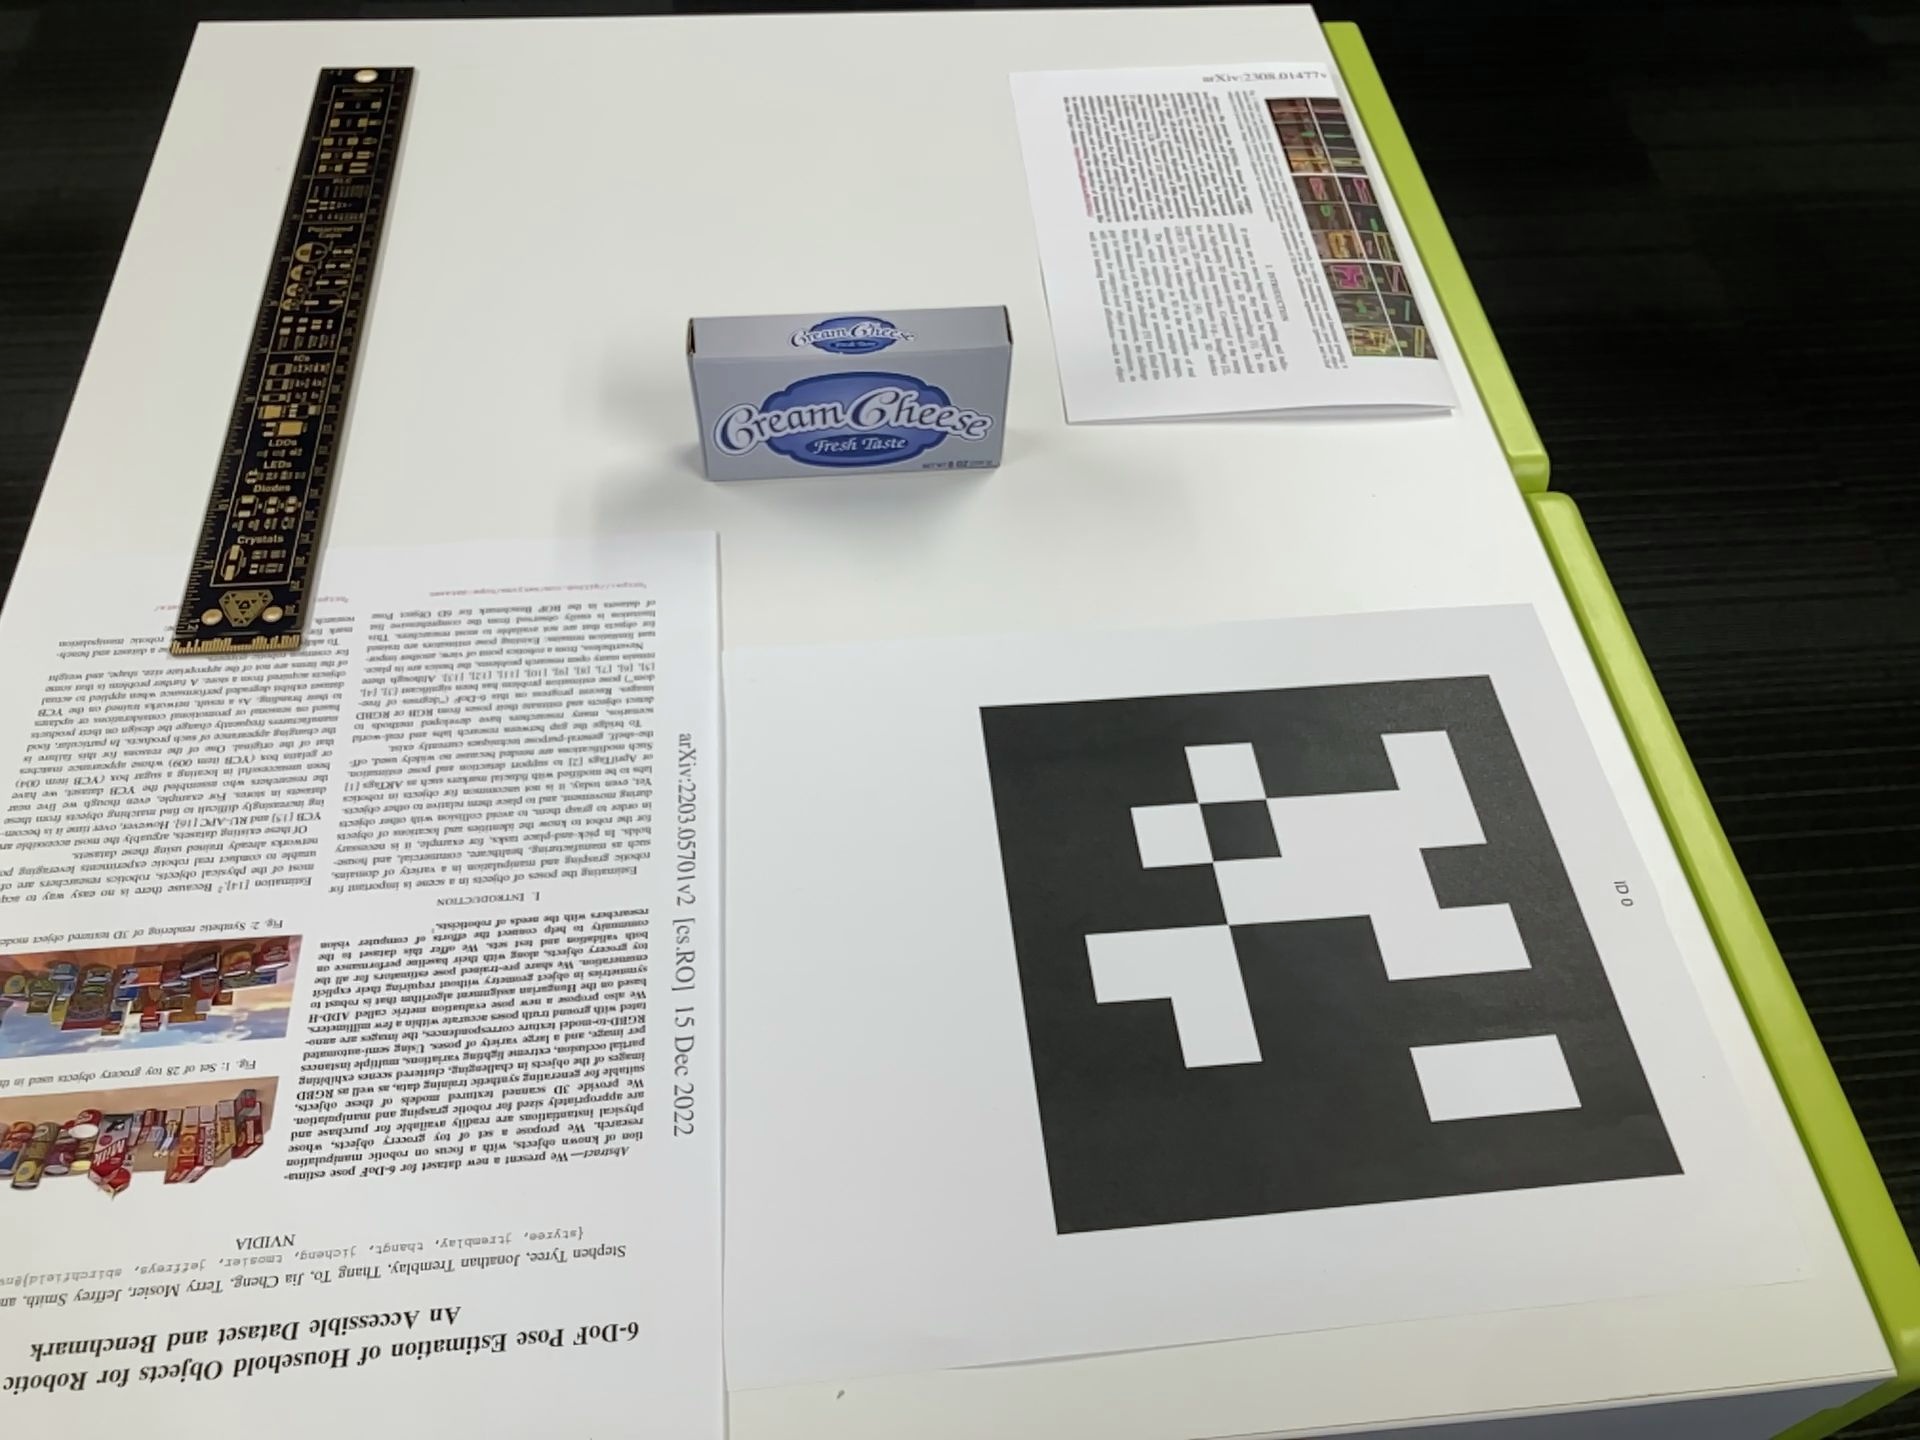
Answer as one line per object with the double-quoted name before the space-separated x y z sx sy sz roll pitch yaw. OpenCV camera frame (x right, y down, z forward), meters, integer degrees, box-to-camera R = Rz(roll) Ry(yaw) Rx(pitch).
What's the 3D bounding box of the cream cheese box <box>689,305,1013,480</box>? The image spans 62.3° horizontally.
"cream cheese box" -0.036 -0.109 0.532 0.104 0.053 0.024 -4 52 -5
